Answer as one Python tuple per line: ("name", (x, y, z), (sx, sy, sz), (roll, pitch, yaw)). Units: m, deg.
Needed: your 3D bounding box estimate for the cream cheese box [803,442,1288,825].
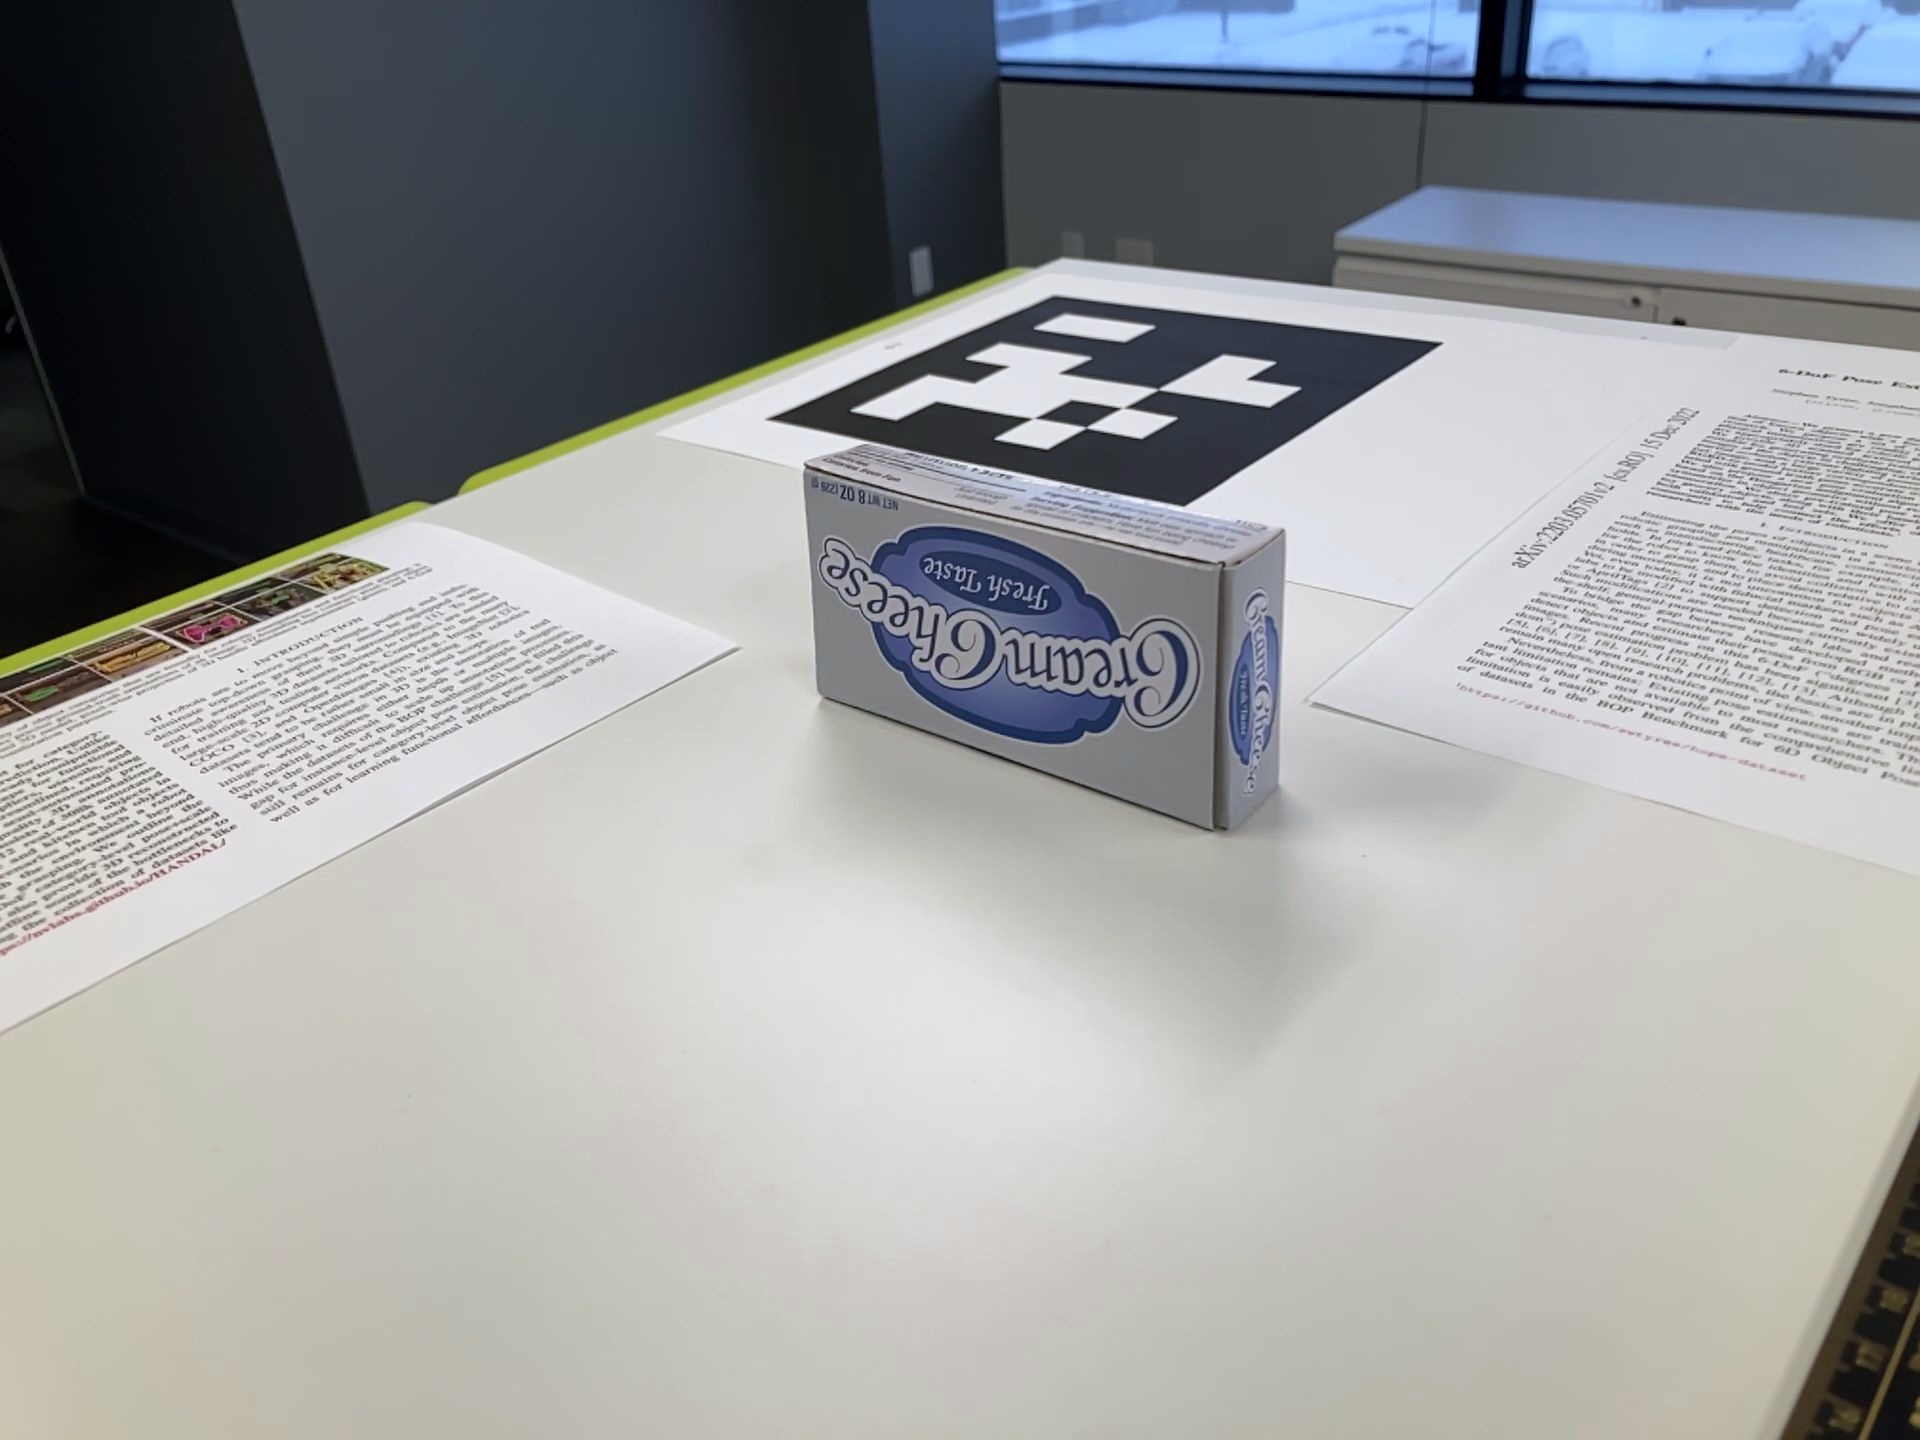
("cream cheese box", (0.014, -0.020, 0.313), (0.104, 0.053, 0.024), (18, 34, 35))
